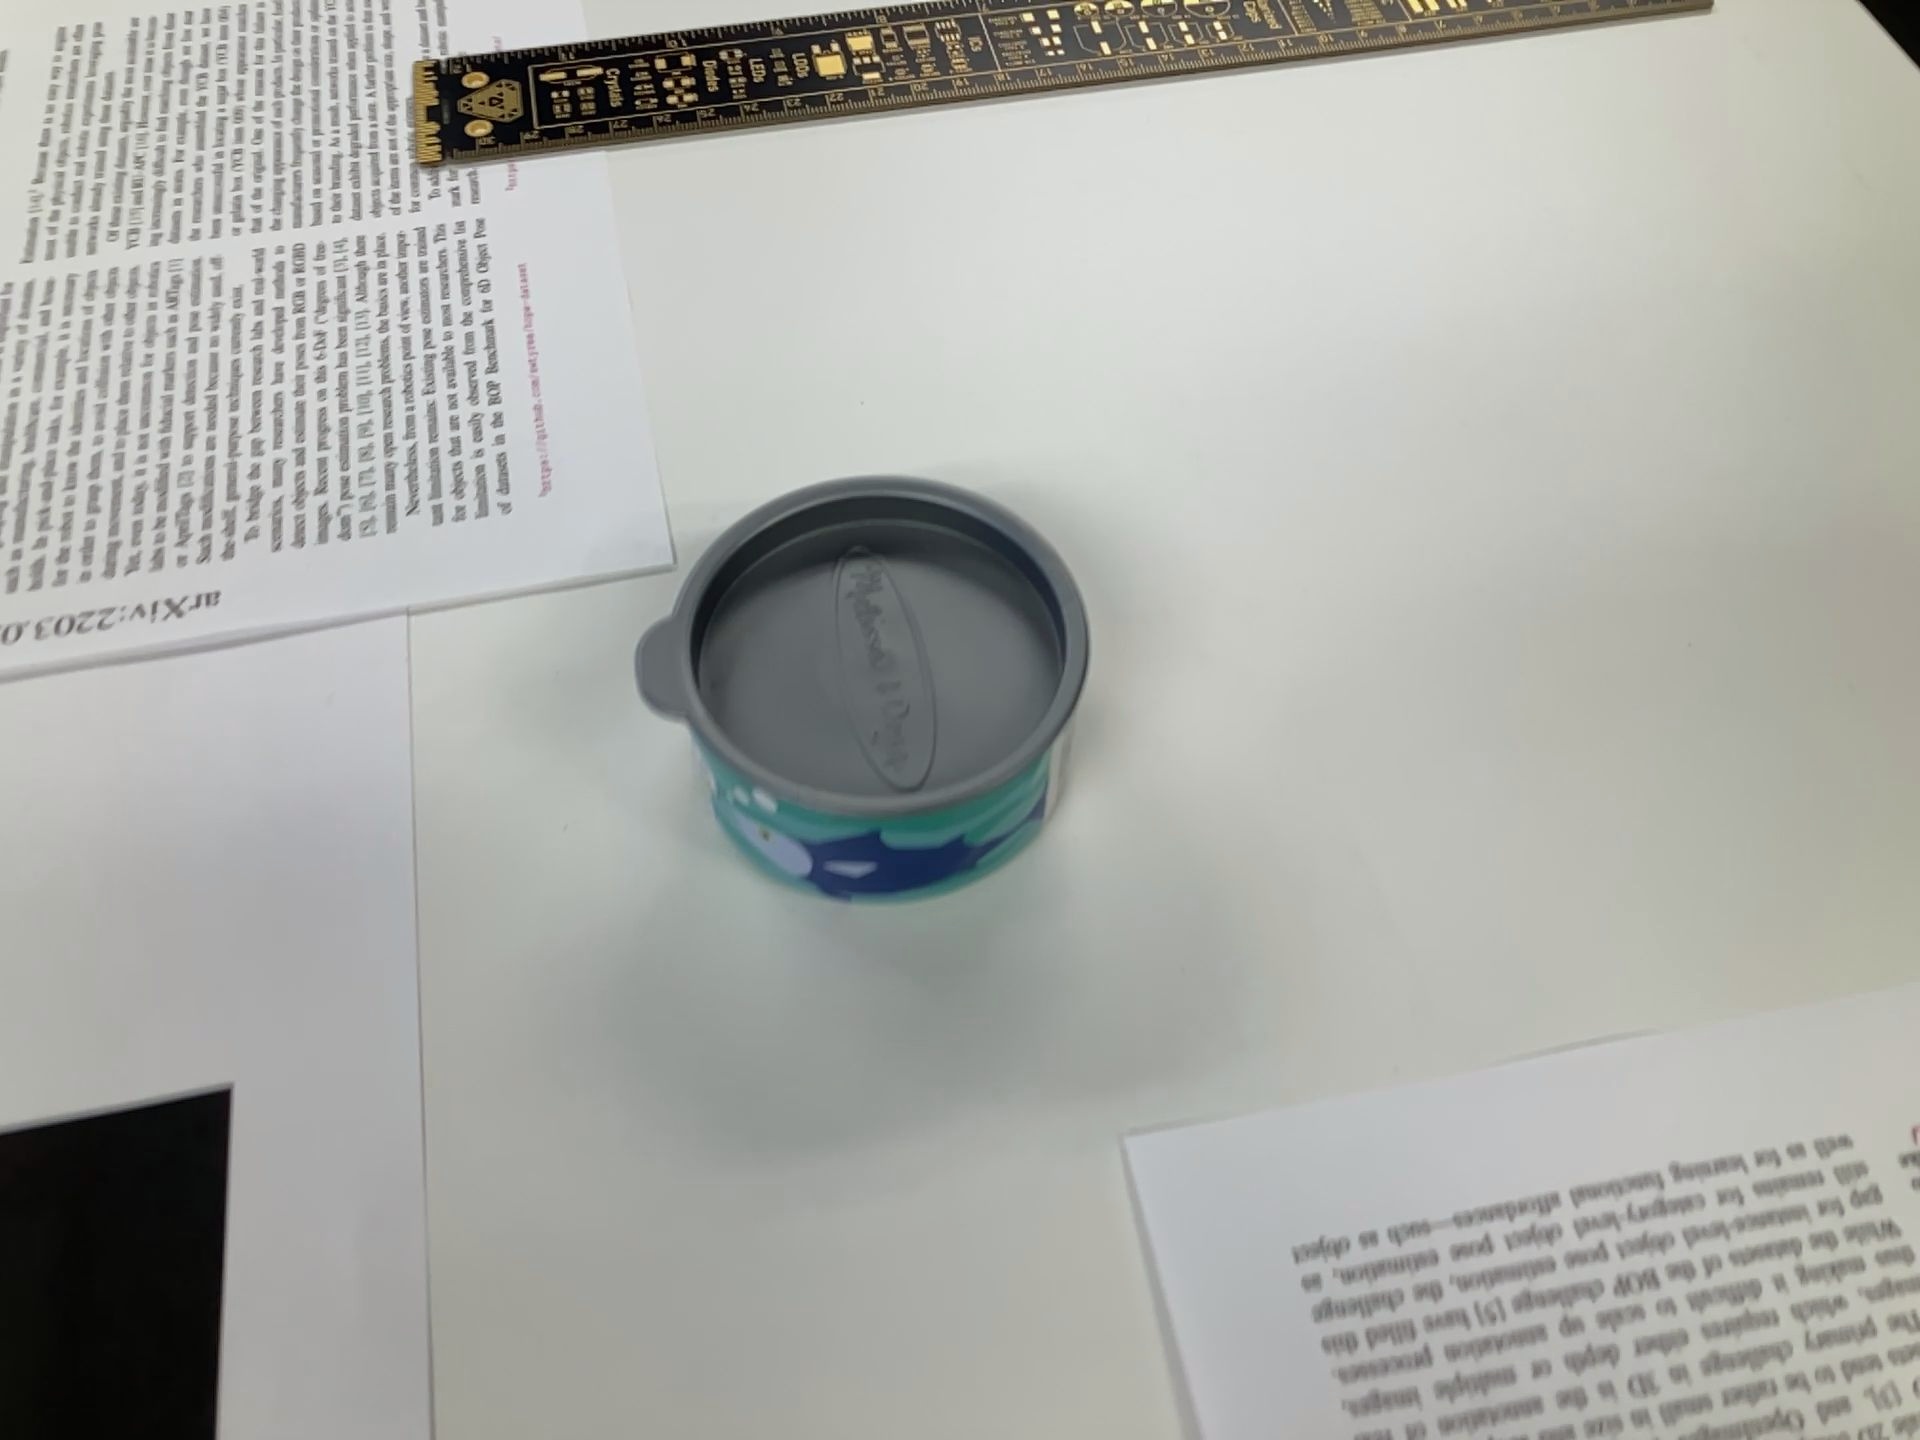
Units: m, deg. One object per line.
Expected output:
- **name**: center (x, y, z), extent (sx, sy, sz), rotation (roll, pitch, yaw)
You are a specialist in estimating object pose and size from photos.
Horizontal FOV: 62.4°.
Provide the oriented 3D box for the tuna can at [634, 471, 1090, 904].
- **tuna can**: center (-0.015, -0.005, 0.260), extent (0.071, 0.033, 0.071), rotation (0, 57, 0)
